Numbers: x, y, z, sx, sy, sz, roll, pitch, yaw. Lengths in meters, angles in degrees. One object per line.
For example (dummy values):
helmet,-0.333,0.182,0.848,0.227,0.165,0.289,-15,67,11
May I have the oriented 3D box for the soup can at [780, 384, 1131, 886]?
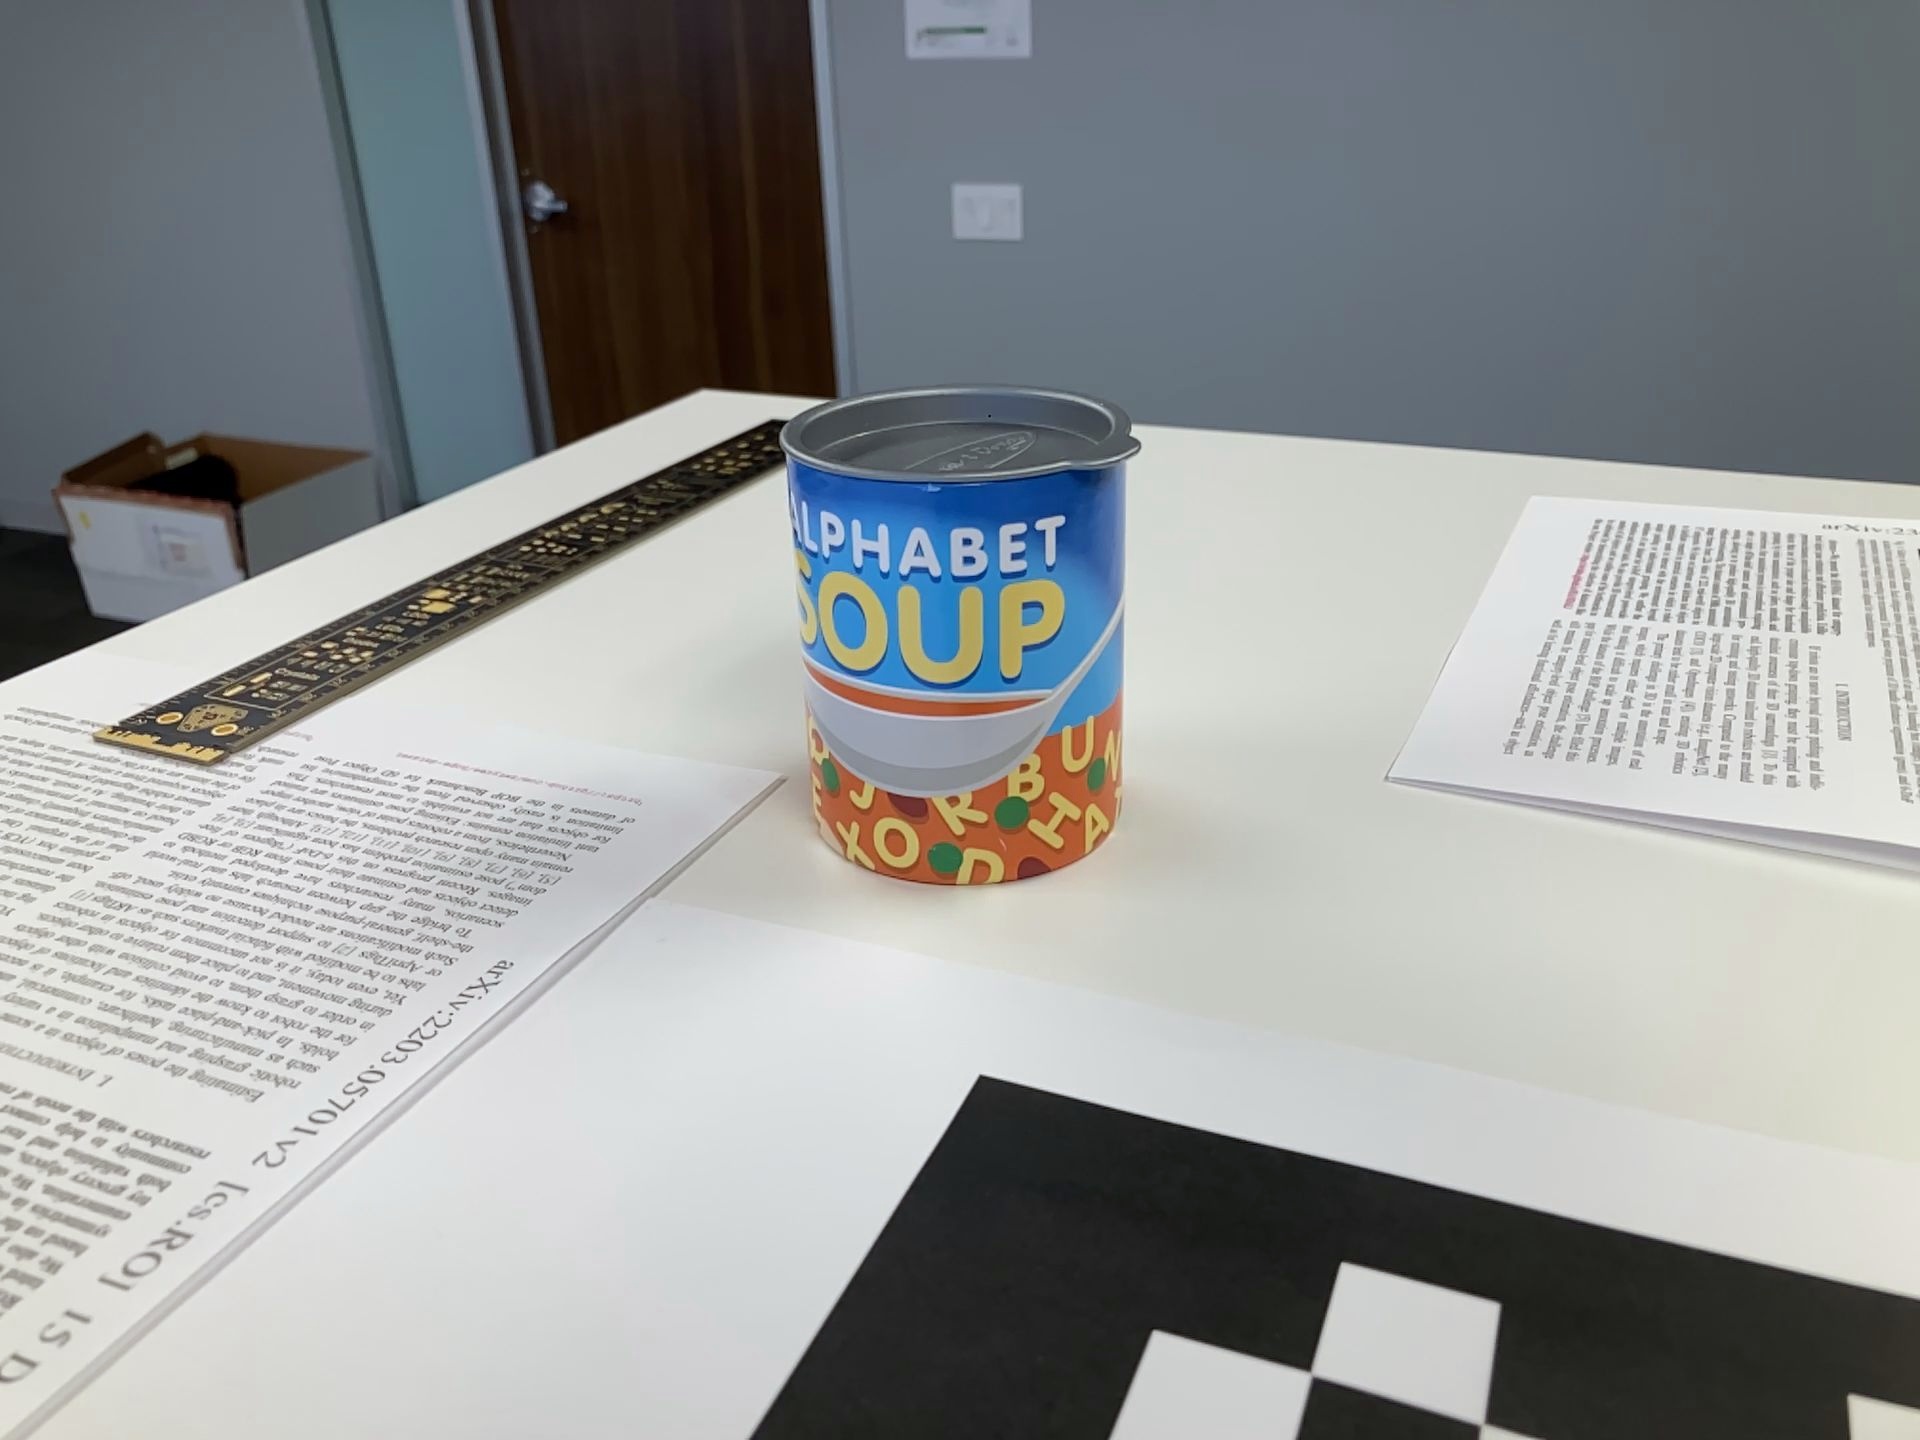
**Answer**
soup can,-0.001,-0.017,0.315,0.071,0.084,0.071,-2,24,1
